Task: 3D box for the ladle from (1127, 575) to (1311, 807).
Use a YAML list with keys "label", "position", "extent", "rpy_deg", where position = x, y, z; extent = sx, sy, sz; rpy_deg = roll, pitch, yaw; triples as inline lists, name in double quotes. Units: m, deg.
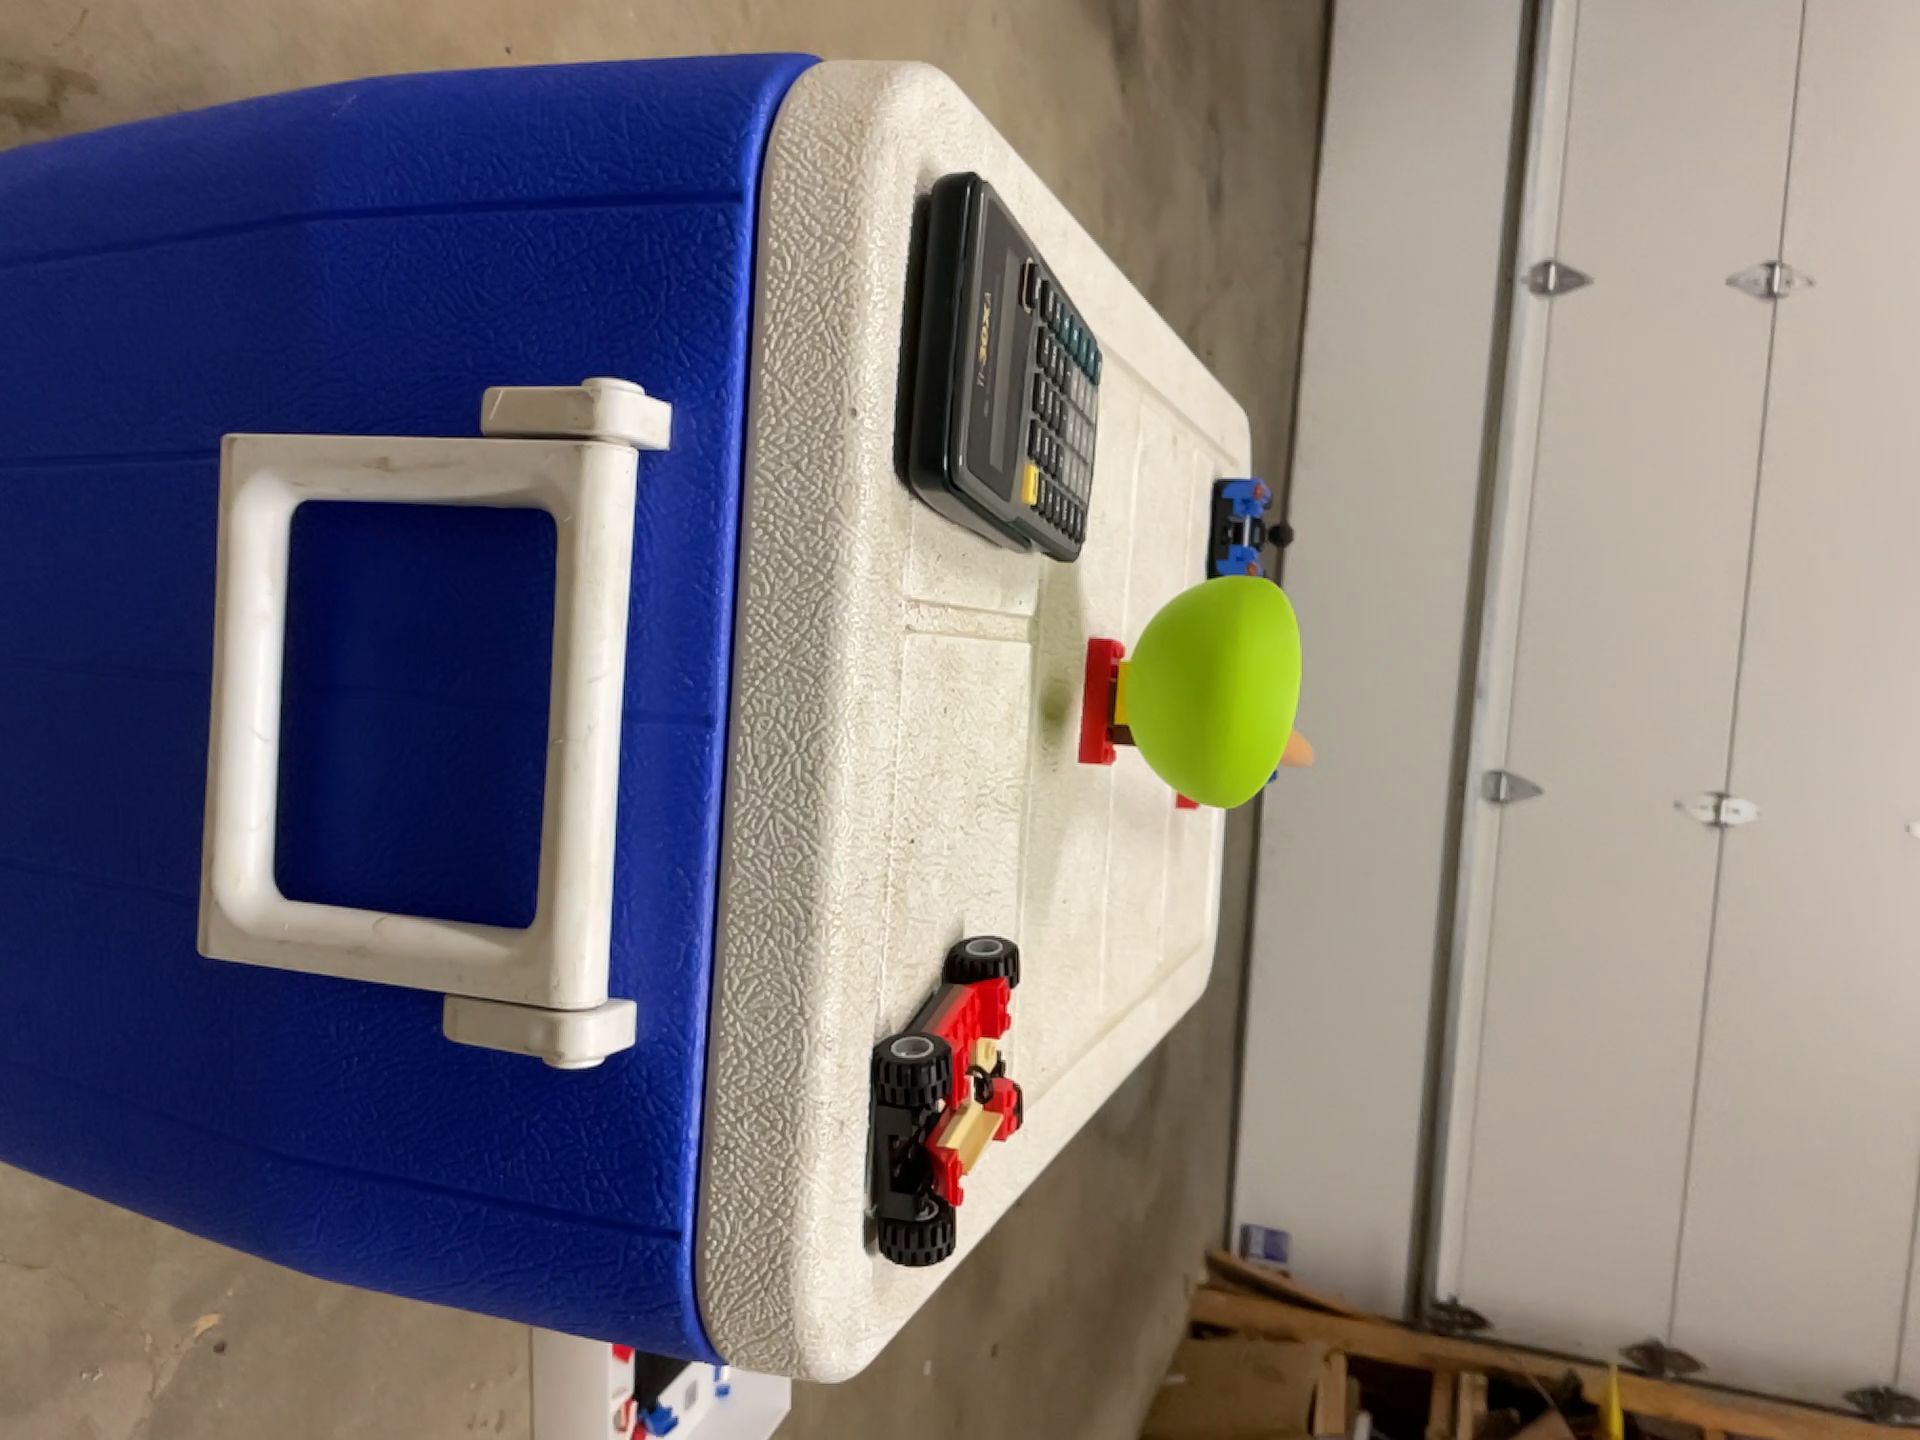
- label: "ladle"
  position: [0.128, 0.002, 0.650]
  extent: [0.320, 0.062, 0.078]
  rpy_deg: [17, 77, -69]
